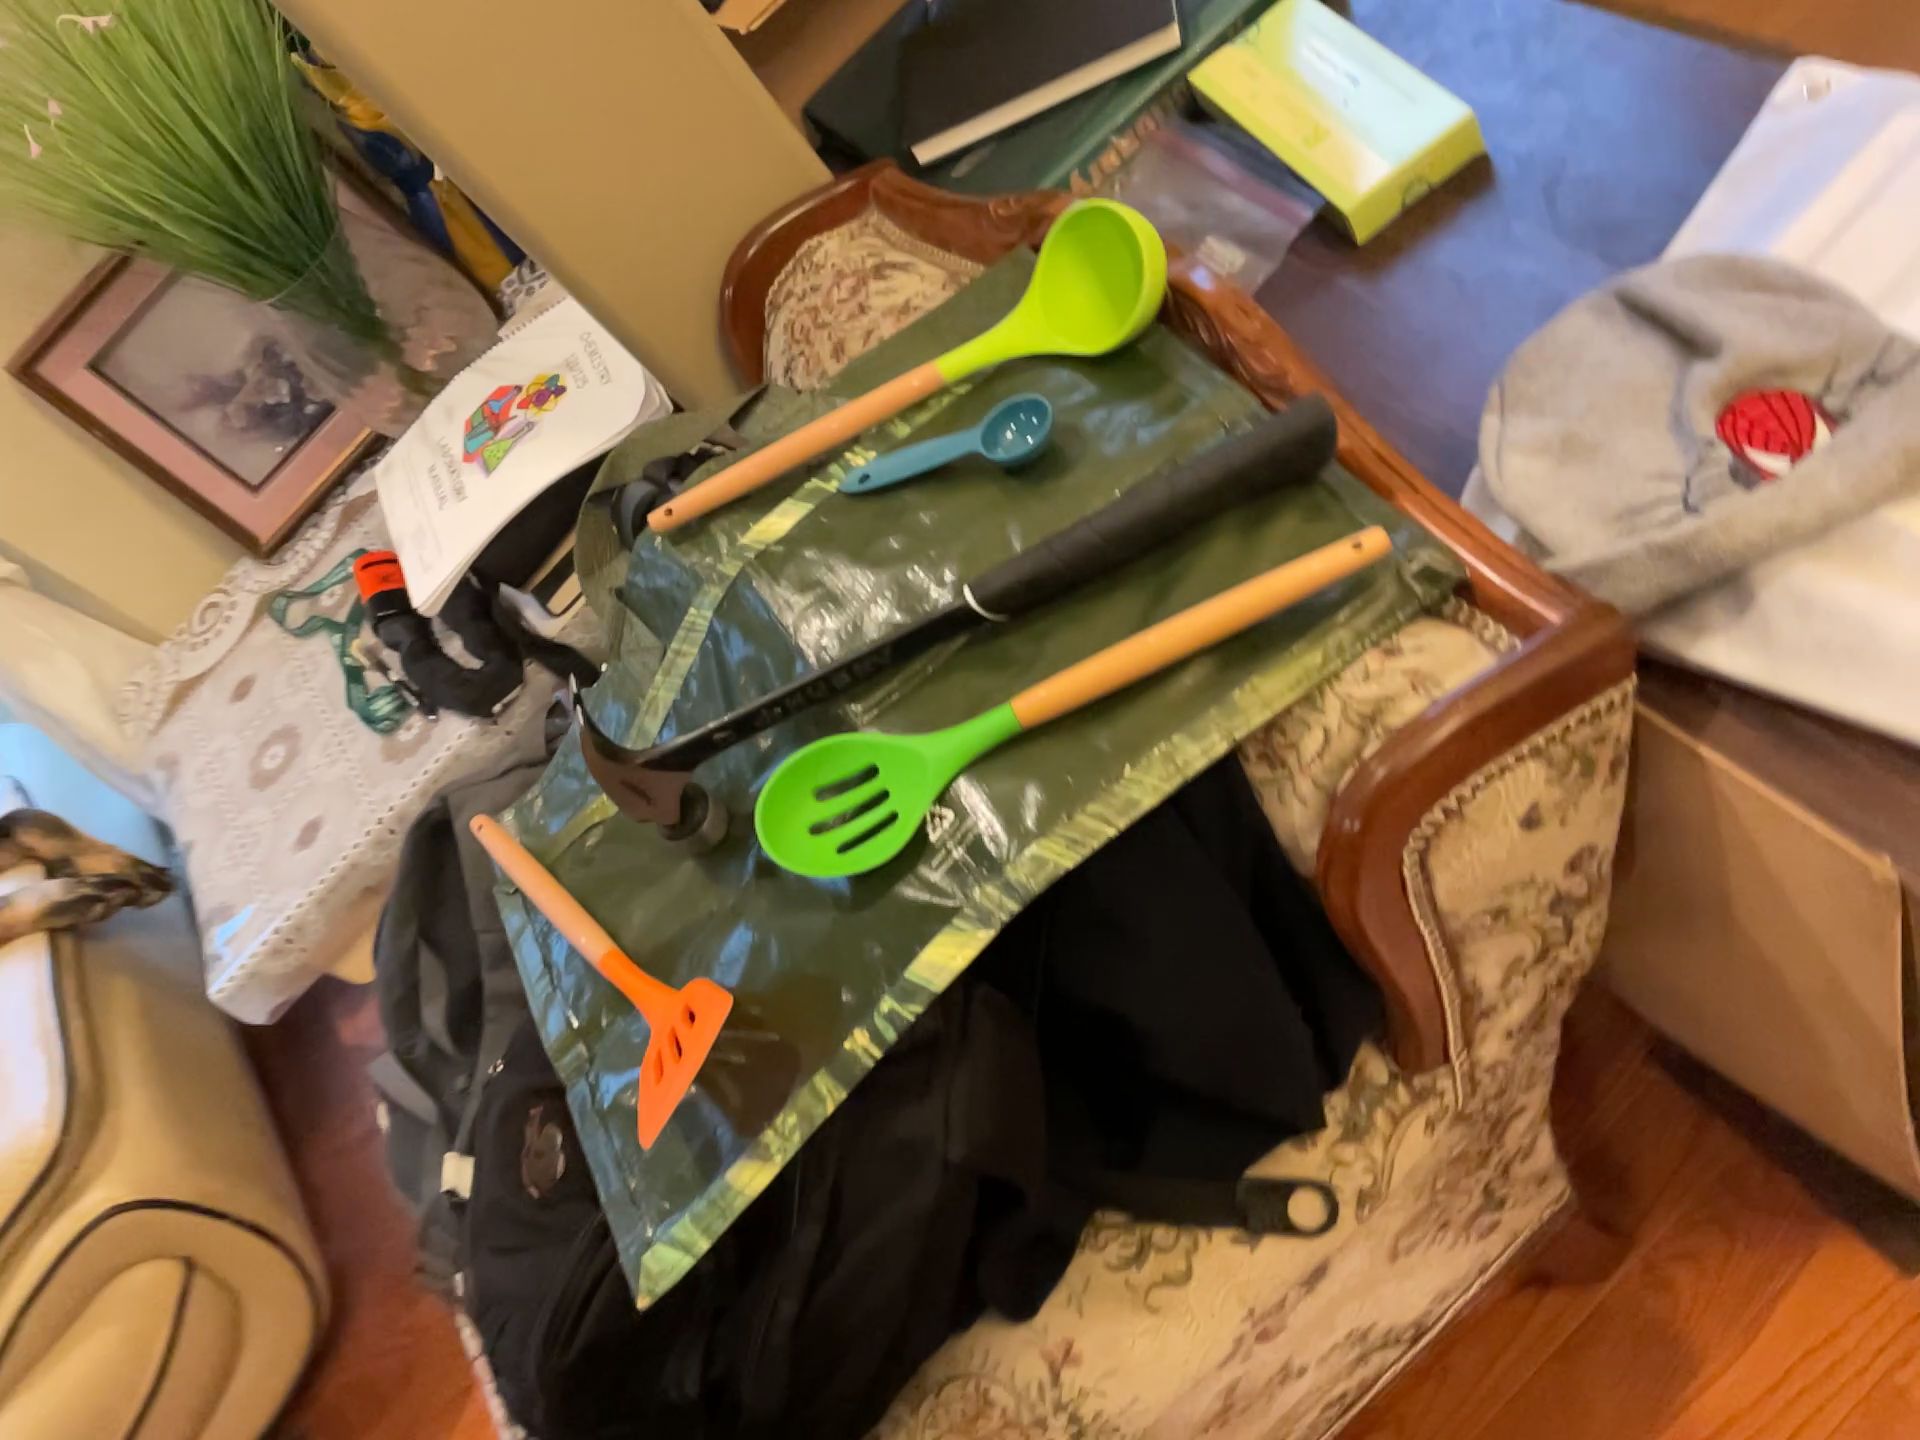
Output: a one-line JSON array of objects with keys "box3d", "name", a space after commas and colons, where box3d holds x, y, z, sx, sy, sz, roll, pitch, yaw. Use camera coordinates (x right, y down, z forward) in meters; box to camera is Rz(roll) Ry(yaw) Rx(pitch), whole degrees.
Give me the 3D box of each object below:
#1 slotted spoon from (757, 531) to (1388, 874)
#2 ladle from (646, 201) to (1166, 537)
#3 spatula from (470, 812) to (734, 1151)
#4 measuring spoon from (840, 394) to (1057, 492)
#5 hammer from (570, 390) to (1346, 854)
[{"box3d": [0.051, -0.011, 0.732, 0.314, 0.031, 0.070, -26, 64, 7], "name": "slotted spoon"}, {"box3d": [-0.036, -0.179, 0.858, 0.320, 0.062, 0.078, -26, 75, 10], "name": "ladle"}, {"box3d": [-0.206, 0.116, 0.854, 0.323, 0.041, 0.081, 31, 89, 46], "name": "spatula"}, {"box3d": [-0.005, -0.136, 0.835, 0.129, 0.021, 0.042, -13, 53, 27], "name": "measuring spoon"}, {"box3d": [-0.003, -0.054, 0.779, 0.409, 0.149, 0.036, -27, 58, 10], "name": "hammer"}]
